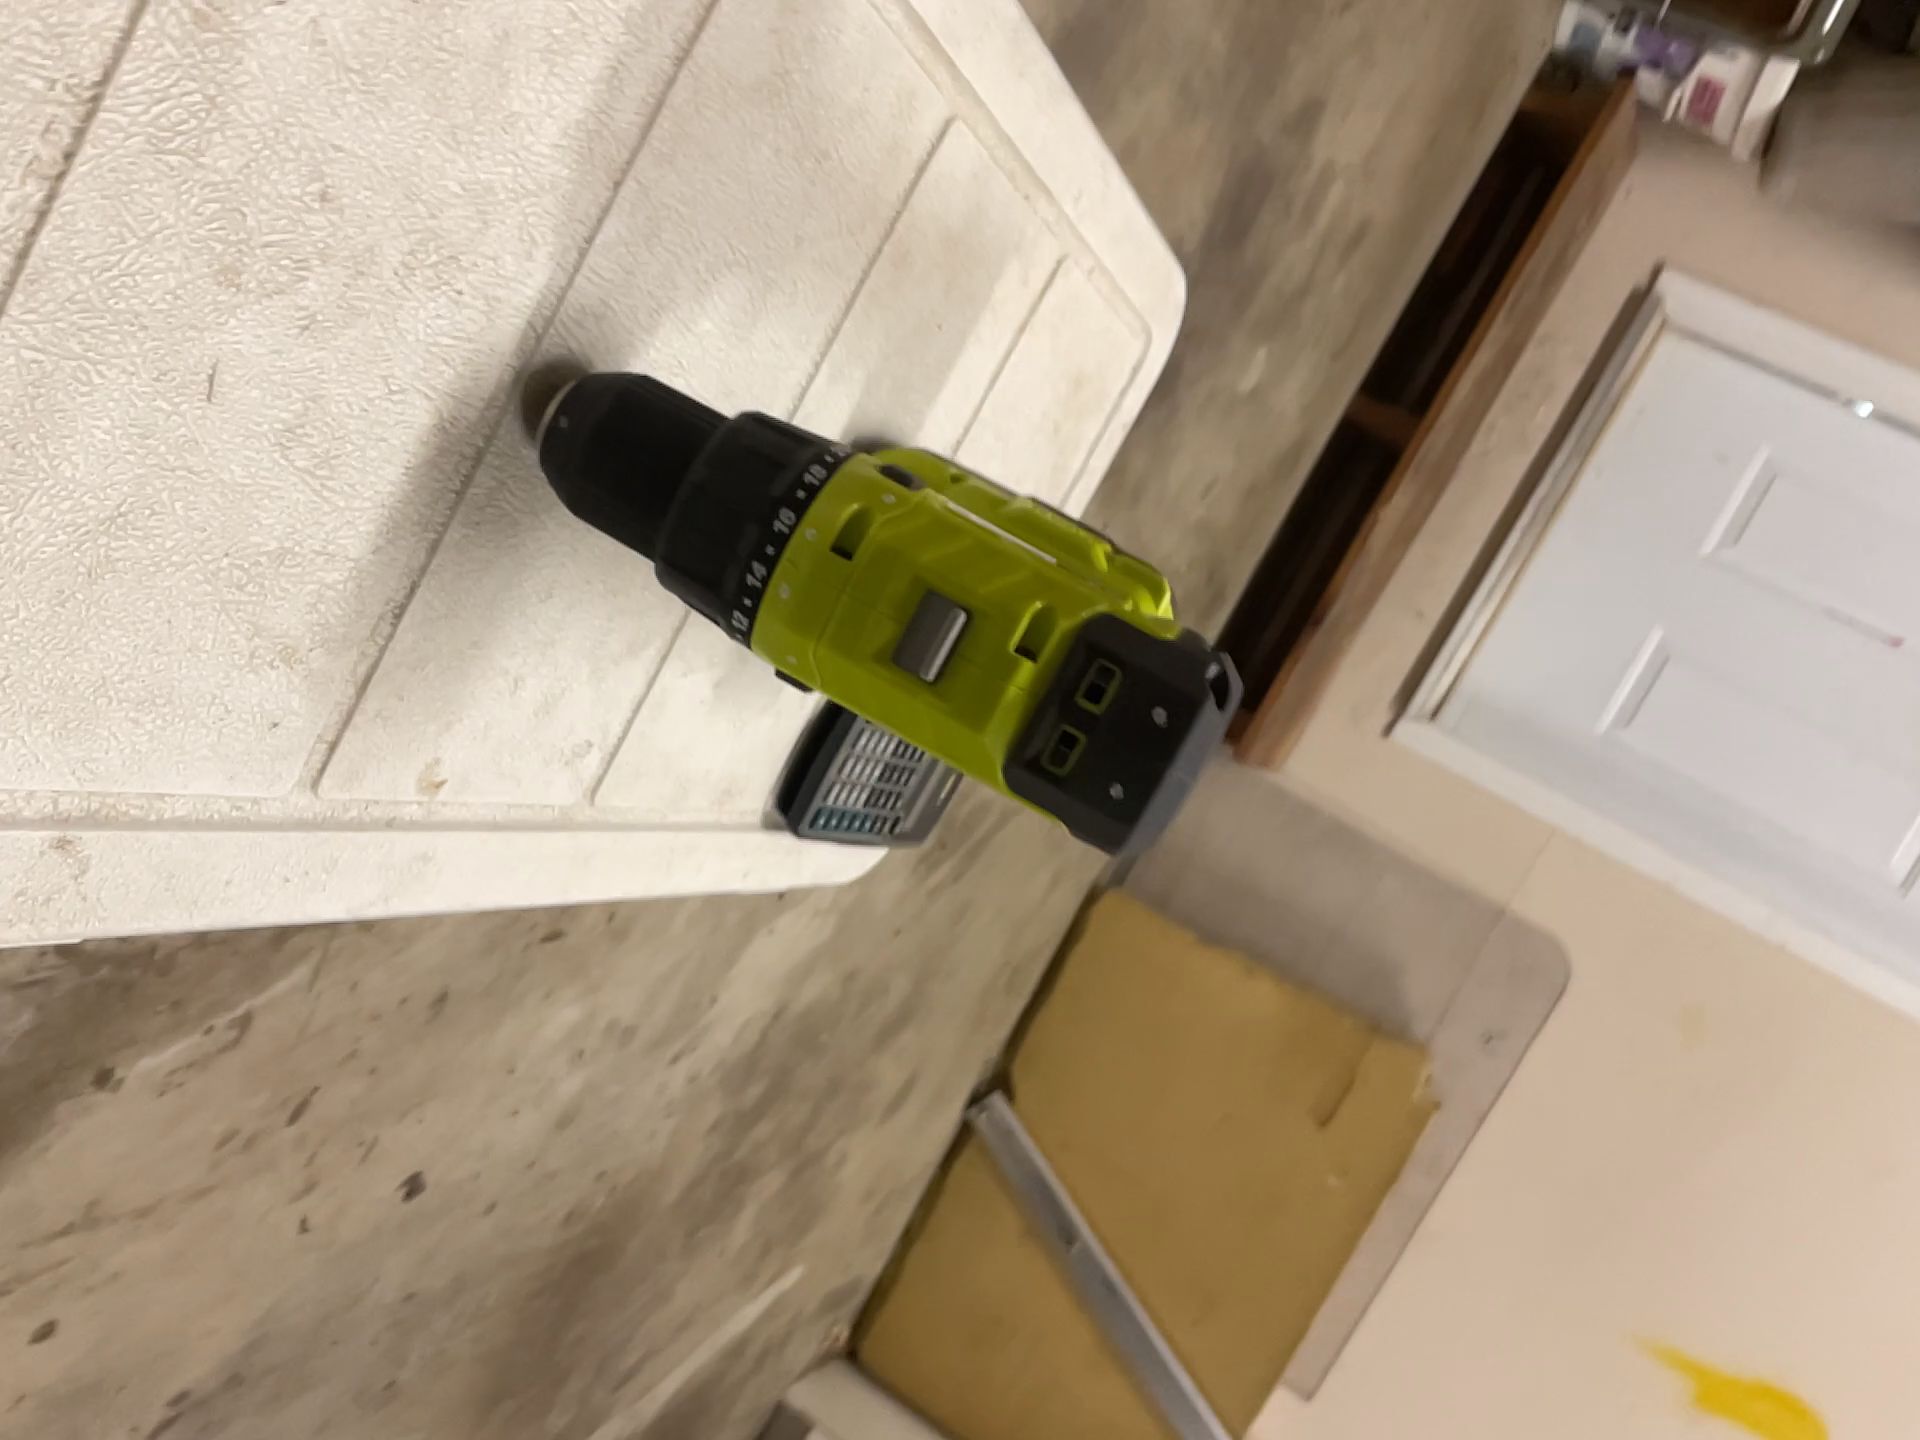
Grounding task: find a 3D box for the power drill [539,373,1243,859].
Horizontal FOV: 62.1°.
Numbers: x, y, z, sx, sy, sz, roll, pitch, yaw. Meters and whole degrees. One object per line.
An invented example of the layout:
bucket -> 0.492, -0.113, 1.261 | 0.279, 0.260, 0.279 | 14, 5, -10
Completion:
power drill -> -0.012, -0.041, 0.495 | 0.080, 0.190, 0.228 | -62, 176, 8
